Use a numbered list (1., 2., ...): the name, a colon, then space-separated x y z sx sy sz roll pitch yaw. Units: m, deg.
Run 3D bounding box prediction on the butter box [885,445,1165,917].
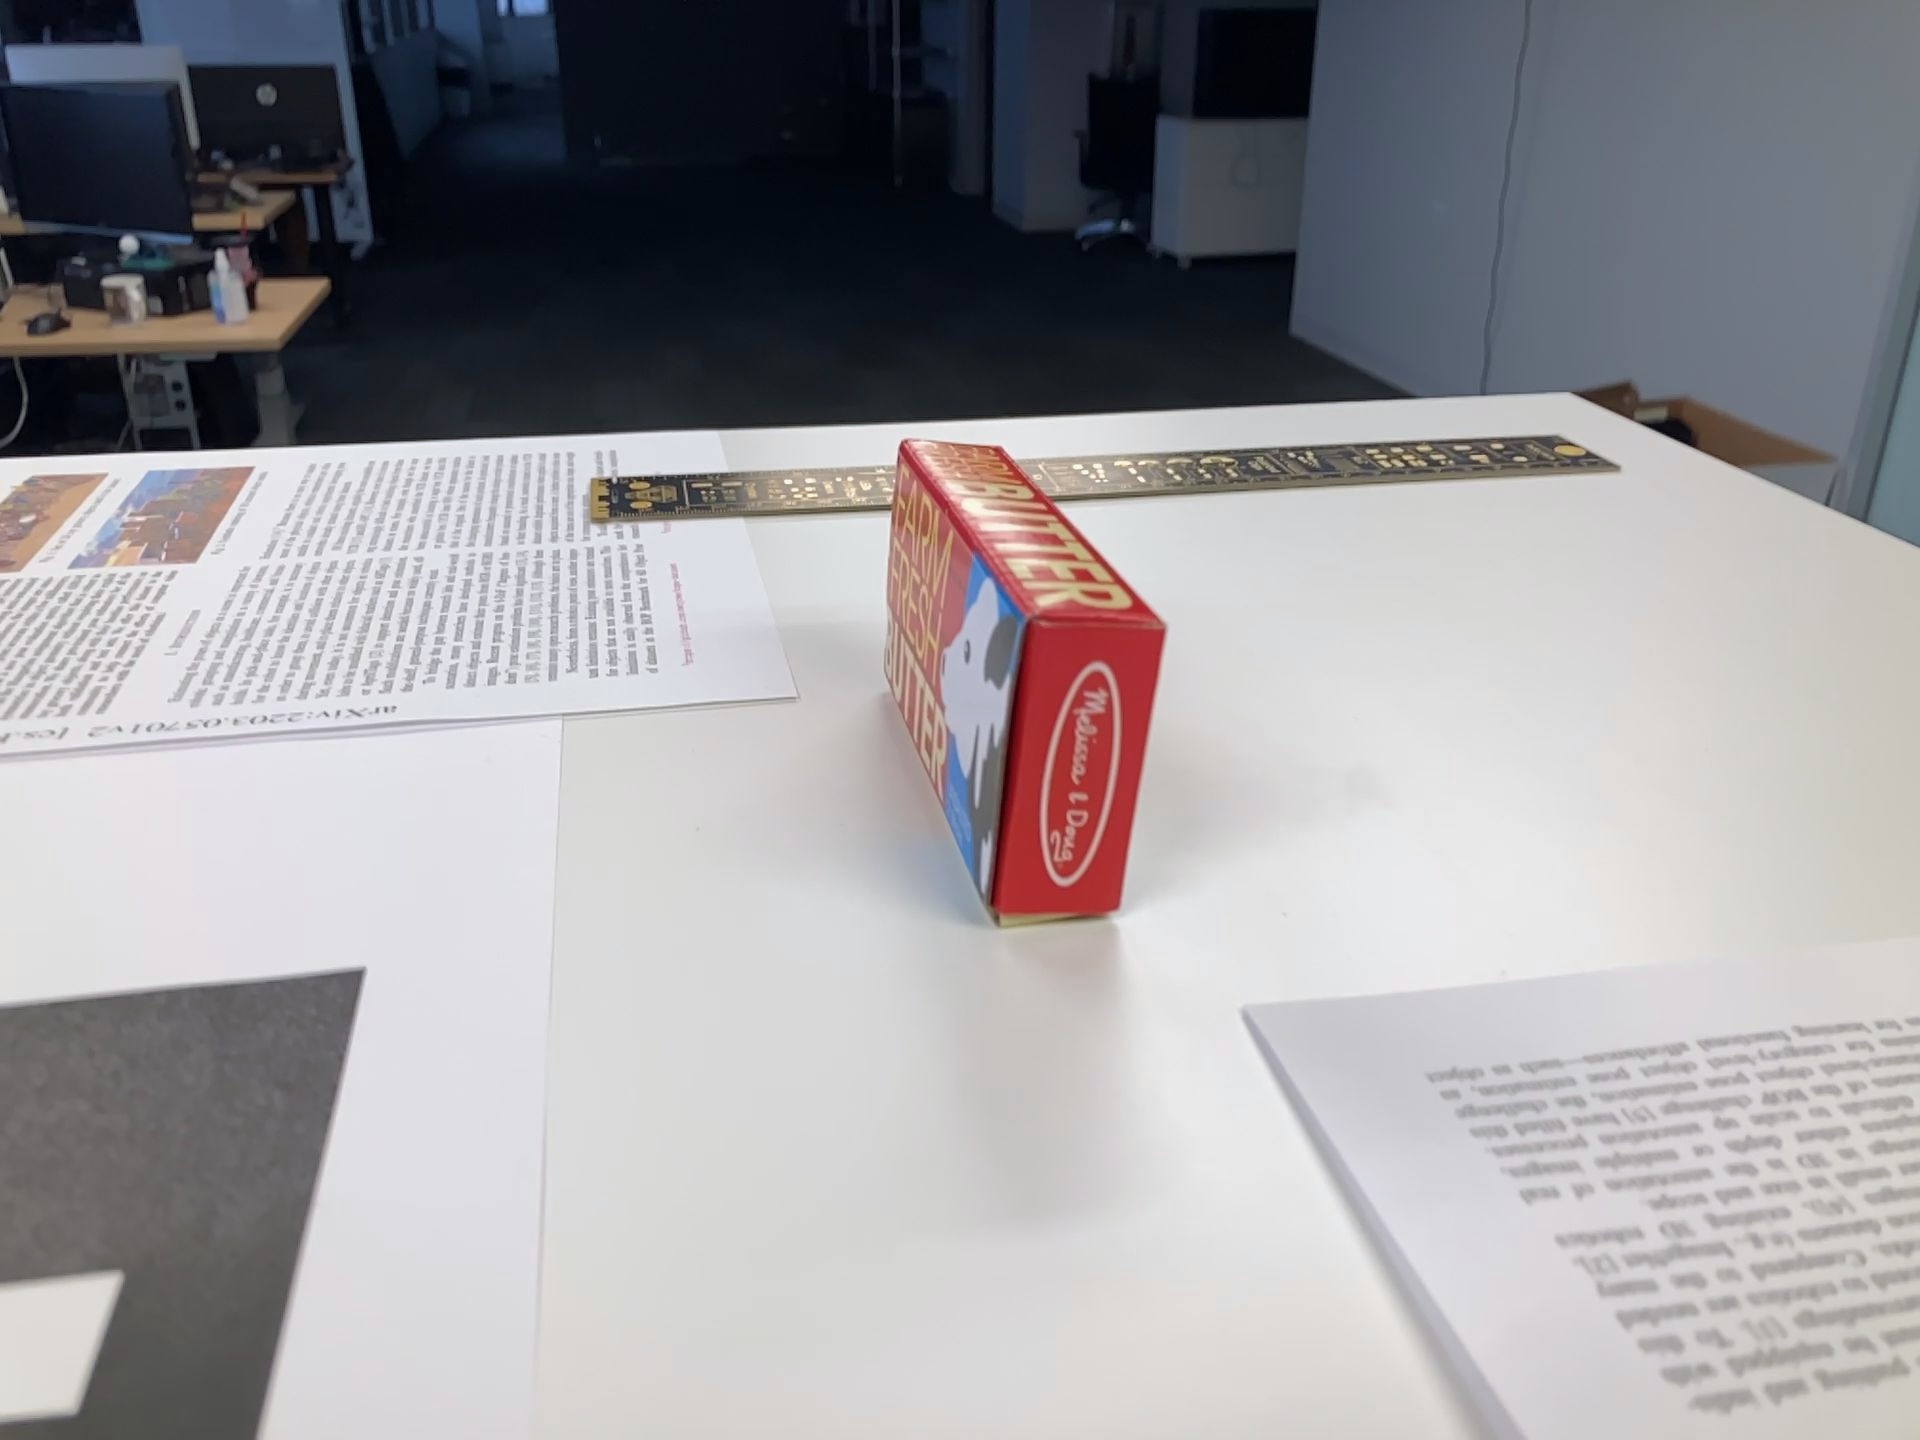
1. butter box: 0.007 -0.013 0.294 0.024 0.053 0.103 0 25 -13
